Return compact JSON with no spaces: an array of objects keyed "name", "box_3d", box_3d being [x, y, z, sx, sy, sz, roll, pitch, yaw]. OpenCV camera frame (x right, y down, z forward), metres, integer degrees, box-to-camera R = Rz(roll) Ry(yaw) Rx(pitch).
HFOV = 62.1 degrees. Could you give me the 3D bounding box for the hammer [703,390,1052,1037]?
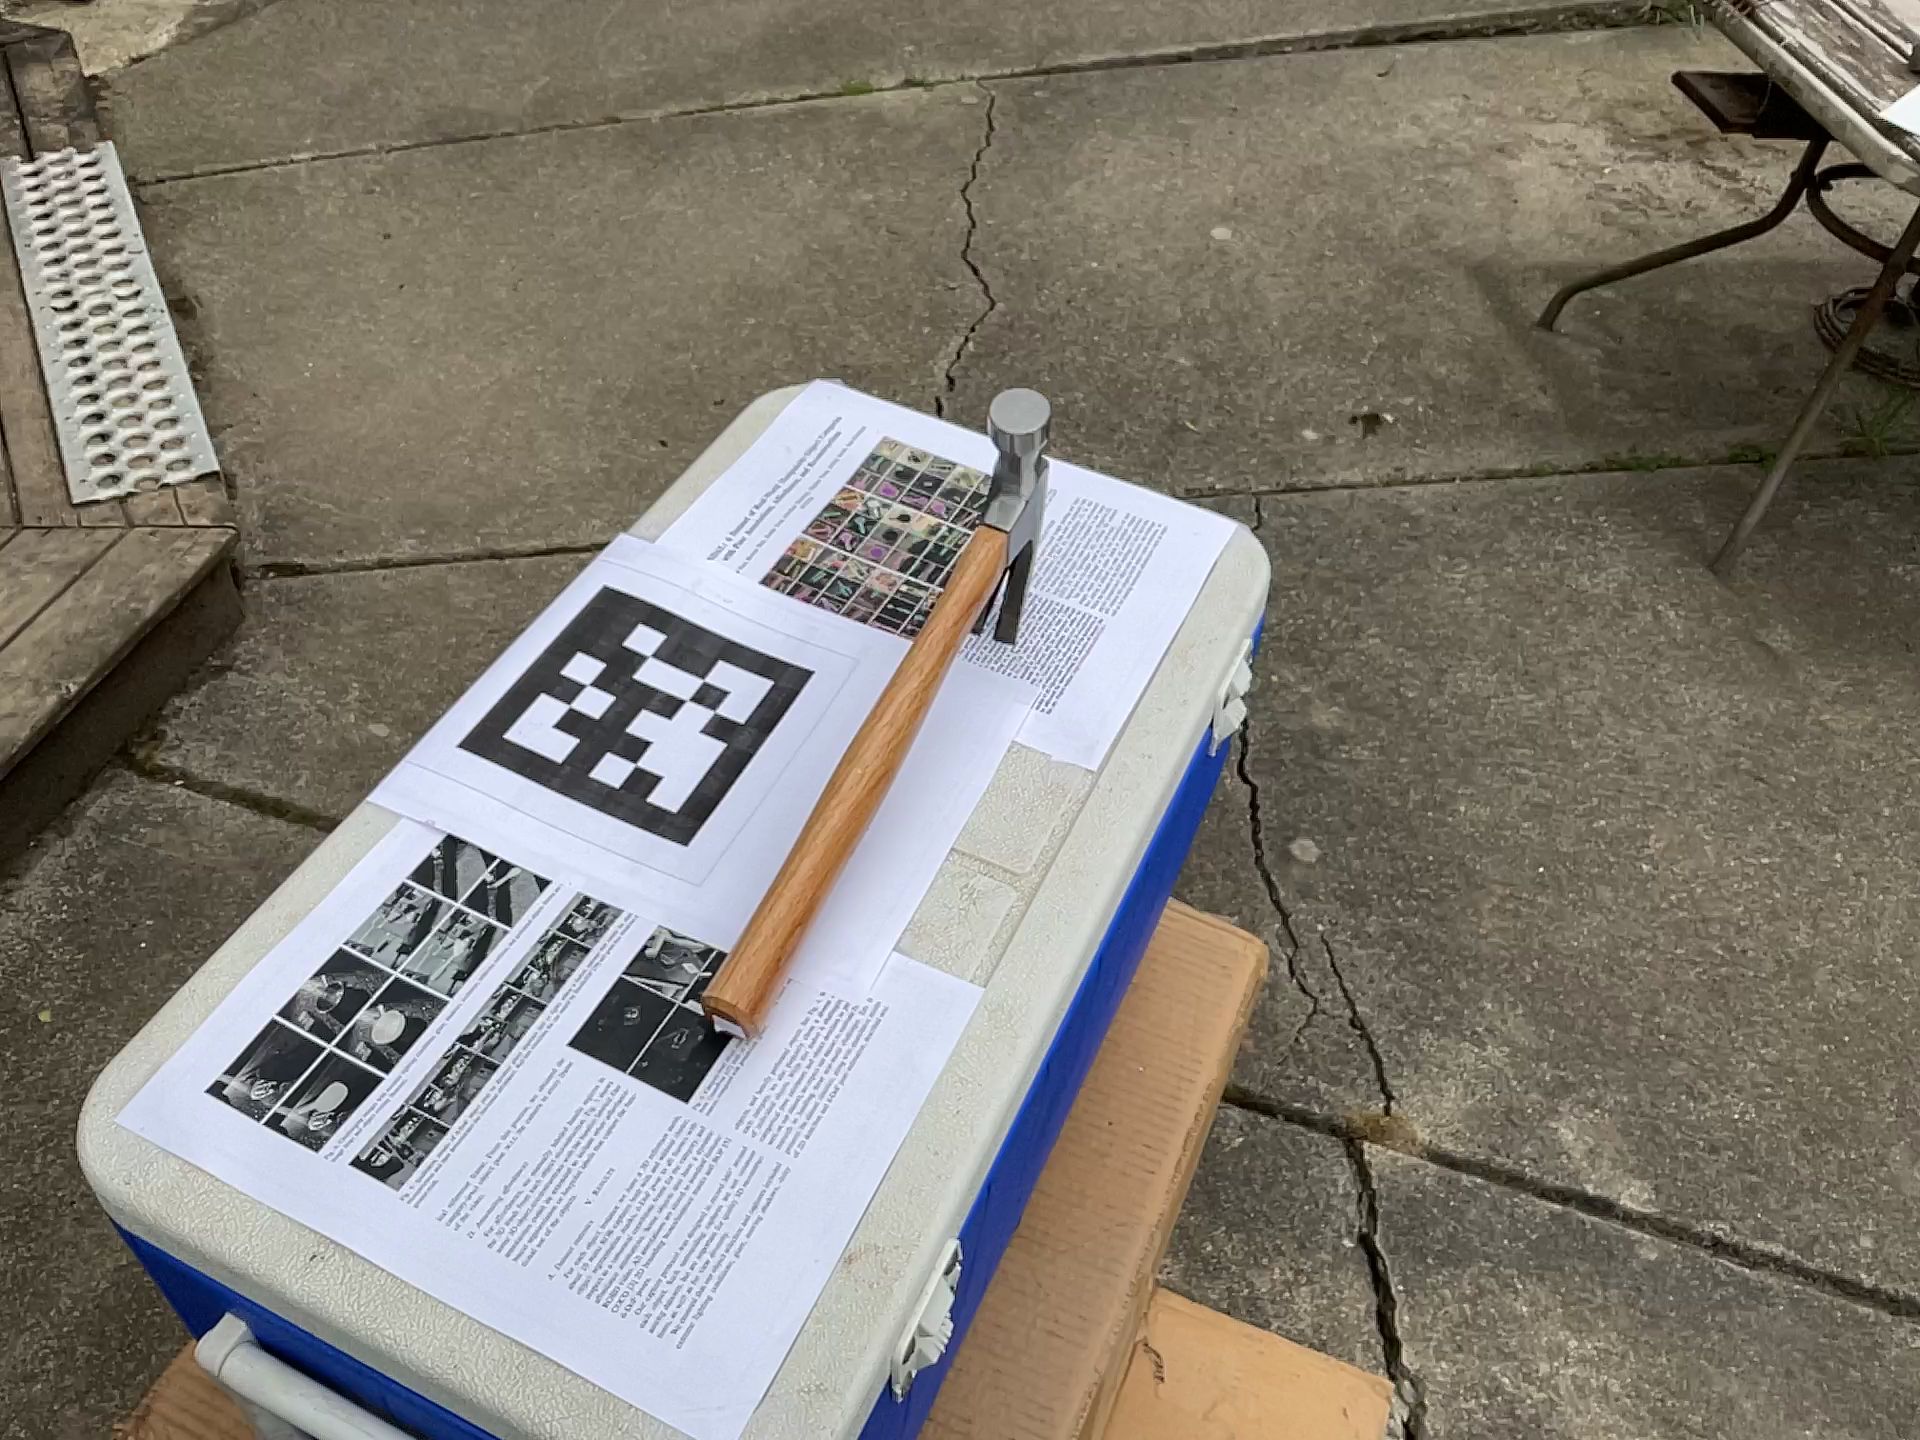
[{"name":"hammer","box_3d":[-0.030,0.001,0.752,0.031,0.130,0.331,19,59,15]}]
